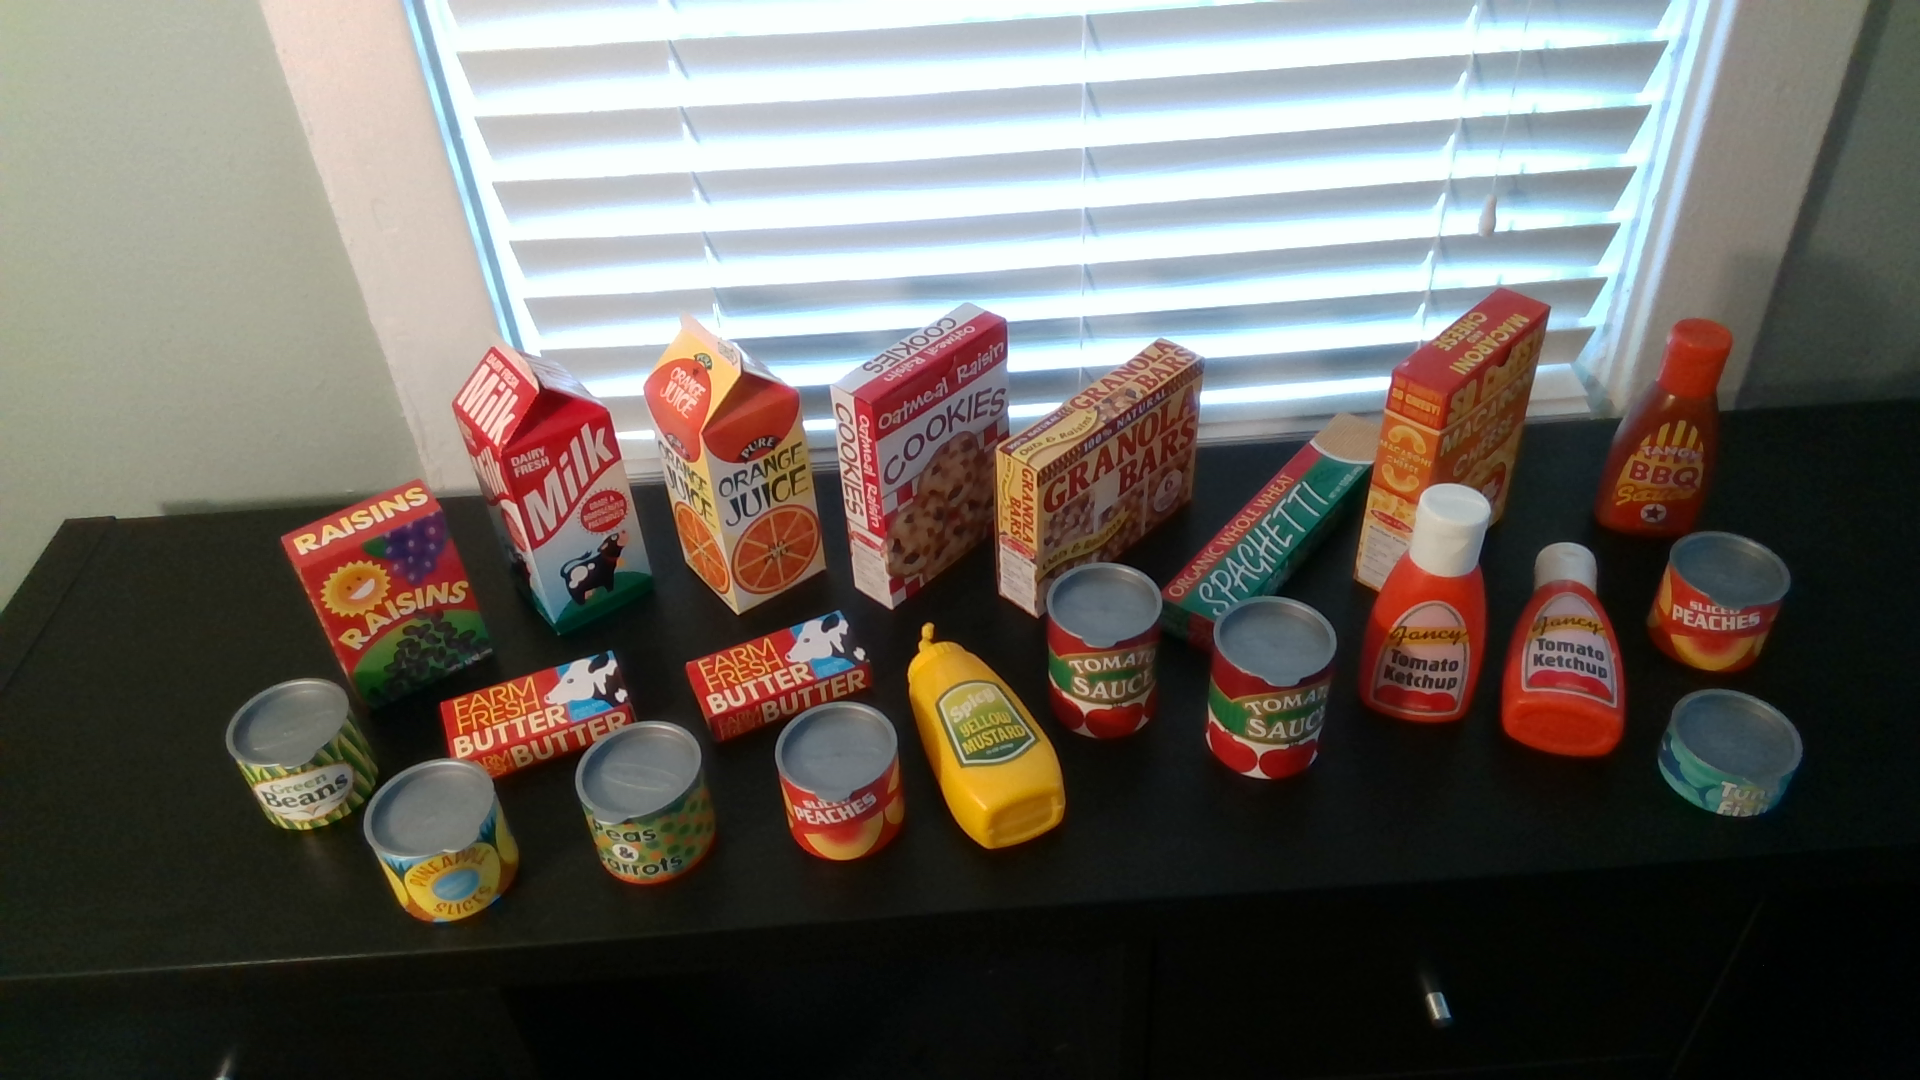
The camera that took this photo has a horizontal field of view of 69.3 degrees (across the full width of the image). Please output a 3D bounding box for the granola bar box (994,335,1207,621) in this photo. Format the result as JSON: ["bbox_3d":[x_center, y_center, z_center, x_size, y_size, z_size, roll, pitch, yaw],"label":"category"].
[{"bbox_3d":[0.090,-0.042,0.896,0.039,0.123,0.166,31,50,32],"label":"granola bar box"}]

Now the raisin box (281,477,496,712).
[{"bbox_3d":[-0.341,0.034,0.838,0.086,0.122,0.040,-26,46,-24],"label":"raisin box"}]

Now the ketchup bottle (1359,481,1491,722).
[{"bbox_3d":[0.264,0.036,0.777,0.065,0.148,0.044,8,40,14],"label":"ketchup bottle"}]

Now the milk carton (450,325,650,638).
[{"bbox_3d":[-0.258,-0.040,0.868,0.074,0.189,0.072,-29,46,-28],"label":"milk carton"}]

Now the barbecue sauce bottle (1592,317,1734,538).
[{"bbox_3d":[0.454,-0.071,0.889,0.065,0.147,0.044,7,41,12],"label":"barbecue sauce bottle"}]

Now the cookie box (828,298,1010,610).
[{"bbox_3d":[-0.020,-0.054,0.888,0.040,0.166,0.123,29,50,31],"label":"cookie box"}]

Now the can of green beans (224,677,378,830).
[{"bbox_3d":[-0.373,0.122,0.790,0.071,0.057,0.071,-2,40,2],"label":"can of green beans"}]

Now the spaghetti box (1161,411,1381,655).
[{"bbox_3d":[0.216,-0.010,0.927,0.050,0.028,0.251,25,48,30],"label":"spaghetti box"}]

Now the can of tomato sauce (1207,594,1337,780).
[{"bbox_3d":[0.173,0.084,0.775,0.071,0.082,0.071,-3,40,3],"label":"can of tomato sauce"}]

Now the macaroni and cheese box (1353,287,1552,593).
[{"bbox_3d":[0.308,-0.058,0.872,0.124,0.165,0.040,-35,50,-30],"label":"macaroni and cheese box"}]

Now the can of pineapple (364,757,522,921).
[{"bbox_3d":[-0.272,0.160,0.736,0.071,0.057,0.071,-3,40,3],"label":"can of pineapple"}]

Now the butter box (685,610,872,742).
[{"bbox_3d":[-0.110,0.082,0.846,0.104,0.024,0.053,-19,41,-18],"label":"butter box"}]

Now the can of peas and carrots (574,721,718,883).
[{"bbox_3d":[-0.168,0.143,0.746,0.071,0.058,0.071,-3,39,3],"label":"can of peas and carrots"}]

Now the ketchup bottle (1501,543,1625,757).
[{"bbox_3d":[0.358,0.061,0.824,0.065,0.043,0.150,11,41,16],"label":"ketchup bottle"}]

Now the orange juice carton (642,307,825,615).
[{"bbox_3d":[-0.142,-0.053,0.878,0.073,0.191,0.072,-29,48,-26],"label":"orange juice carton"}]

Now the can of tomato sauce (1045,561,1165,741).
[{"bbox_3d":[0.083,0.066,0.799,0.071,0.082,0.071,-2,39,1],"label":"can of tomato sauce"}]

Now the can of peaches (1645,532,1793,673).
[{"bbox_3d":[0.452,0.039,0.832,0.071,0.057,0.071,-1,40,1],"label":"can of peaches"}]

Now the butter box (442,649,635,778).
[{"bbox_3d":[-0.250,0.104,0.824,0.104,0.024,0.053,-18,41,-17],"label":"butter box"}]

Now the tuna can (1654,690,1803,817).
[{"bbox_3d":[0.419,0.118,0.758,0.071,0.032,0.071,-1,39,1],"label":"tuna can"}]

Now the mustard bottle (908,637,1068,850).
[{"bbox_3d":[0.004,0.103,0.791,0.065,0.048,0.161,-16,40,-17],"label":"mustard bottle"}]

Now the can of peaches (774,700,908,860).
[{"bbox_3d":[-0.064,0.132,0.751,0.071,0.057,0.071,-4,40,3],"label":"can of peaches"}]
